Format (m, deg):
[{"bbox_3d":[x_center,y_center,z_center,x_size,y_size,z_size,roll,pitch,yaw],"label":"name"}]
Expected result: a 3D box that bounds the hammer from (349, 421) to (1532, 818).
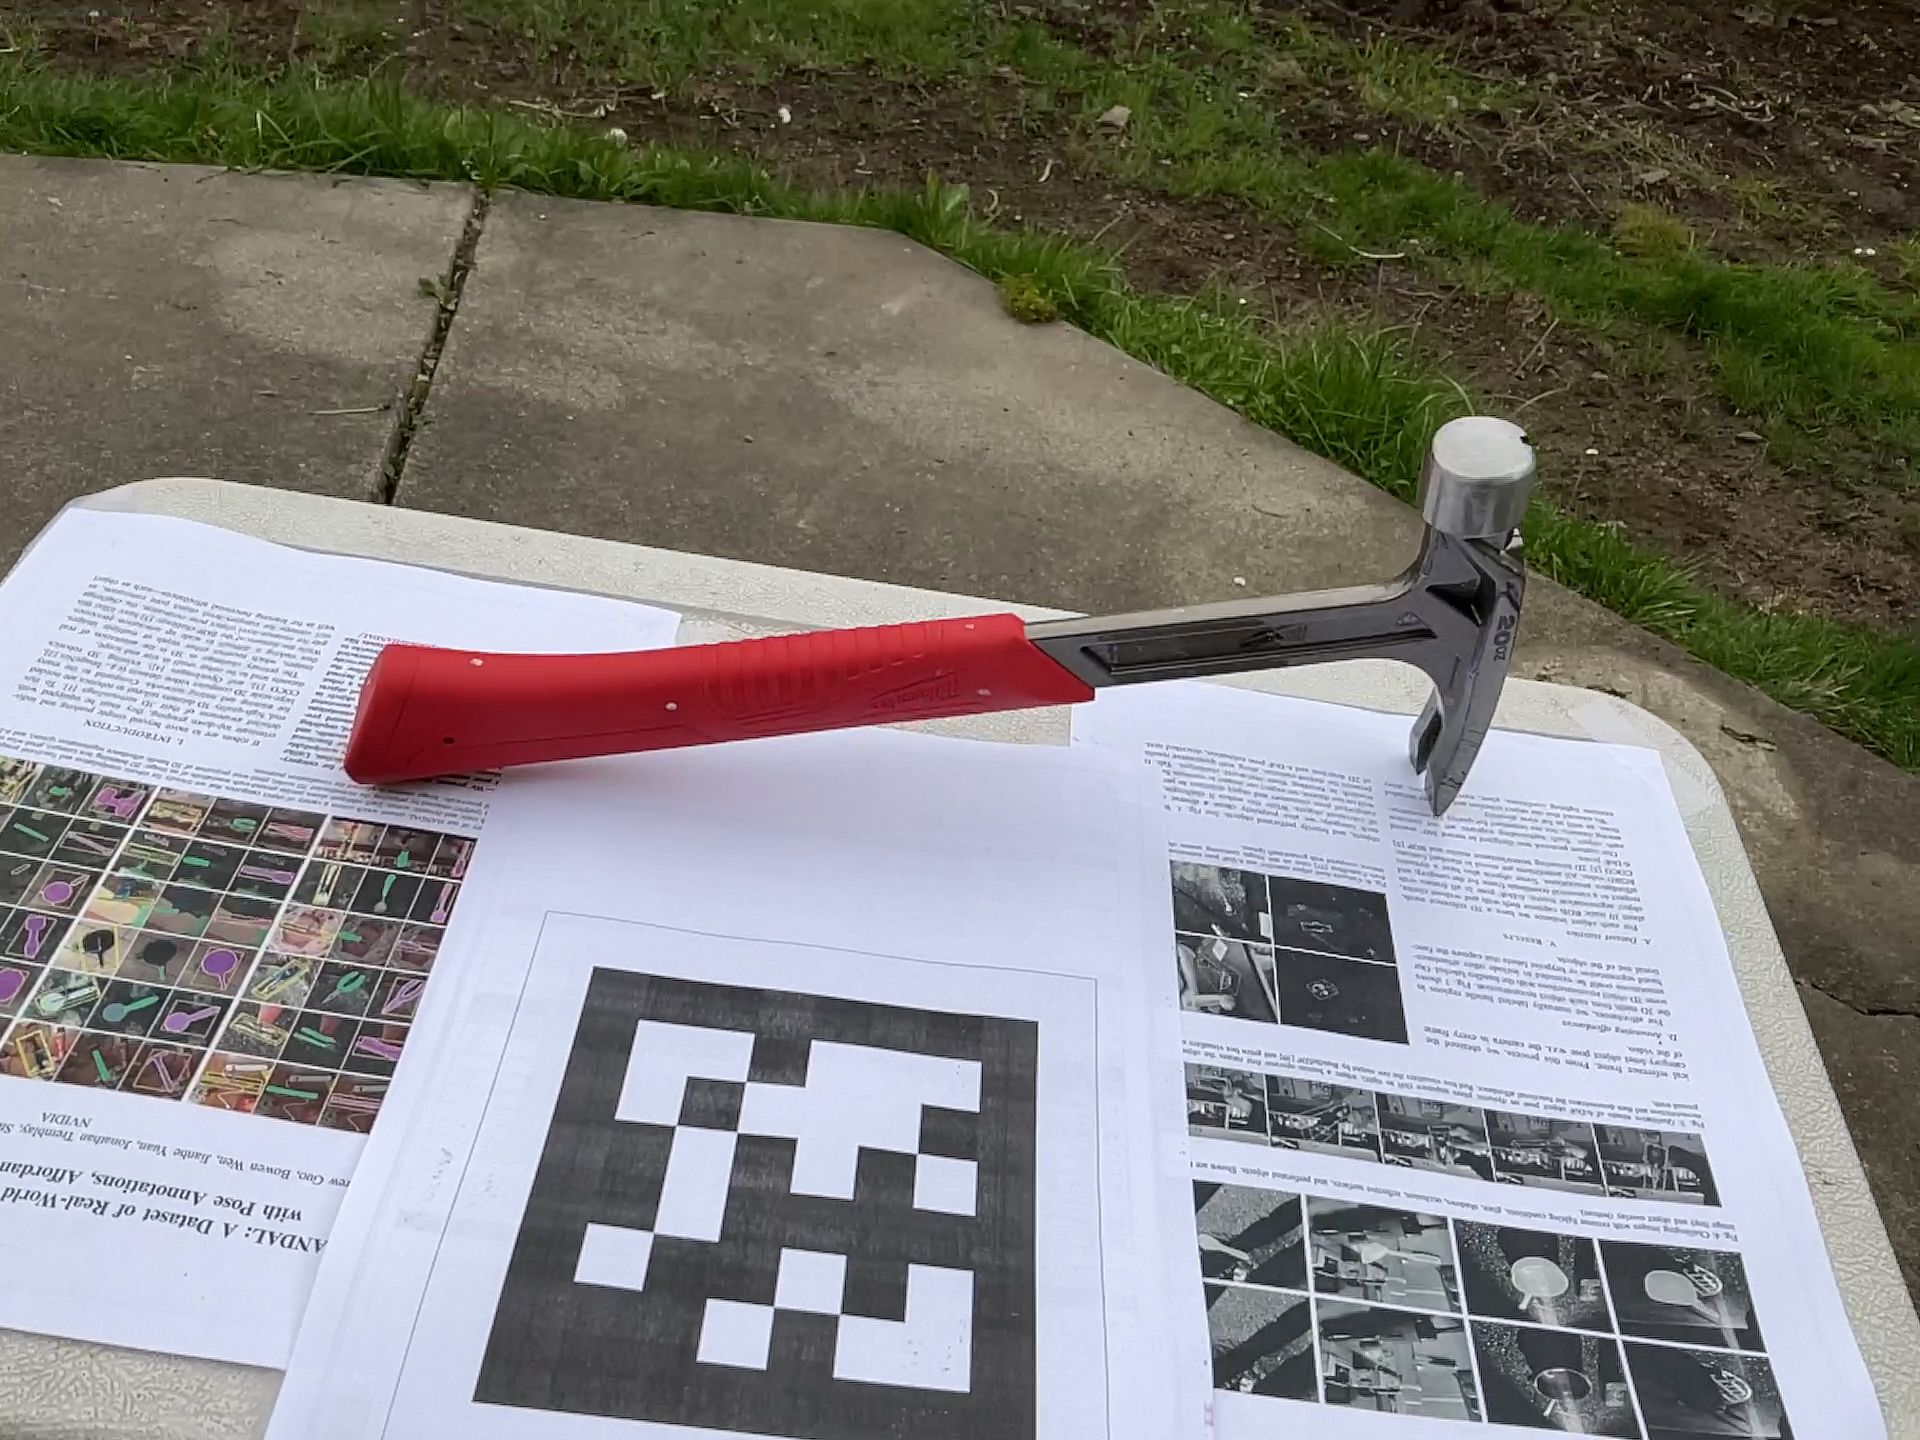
[{"bbox_3d":[-0.007,-0.009,0.505,0.359,0.149,0.037,-7,46,-2],"label":"hammer"}]
